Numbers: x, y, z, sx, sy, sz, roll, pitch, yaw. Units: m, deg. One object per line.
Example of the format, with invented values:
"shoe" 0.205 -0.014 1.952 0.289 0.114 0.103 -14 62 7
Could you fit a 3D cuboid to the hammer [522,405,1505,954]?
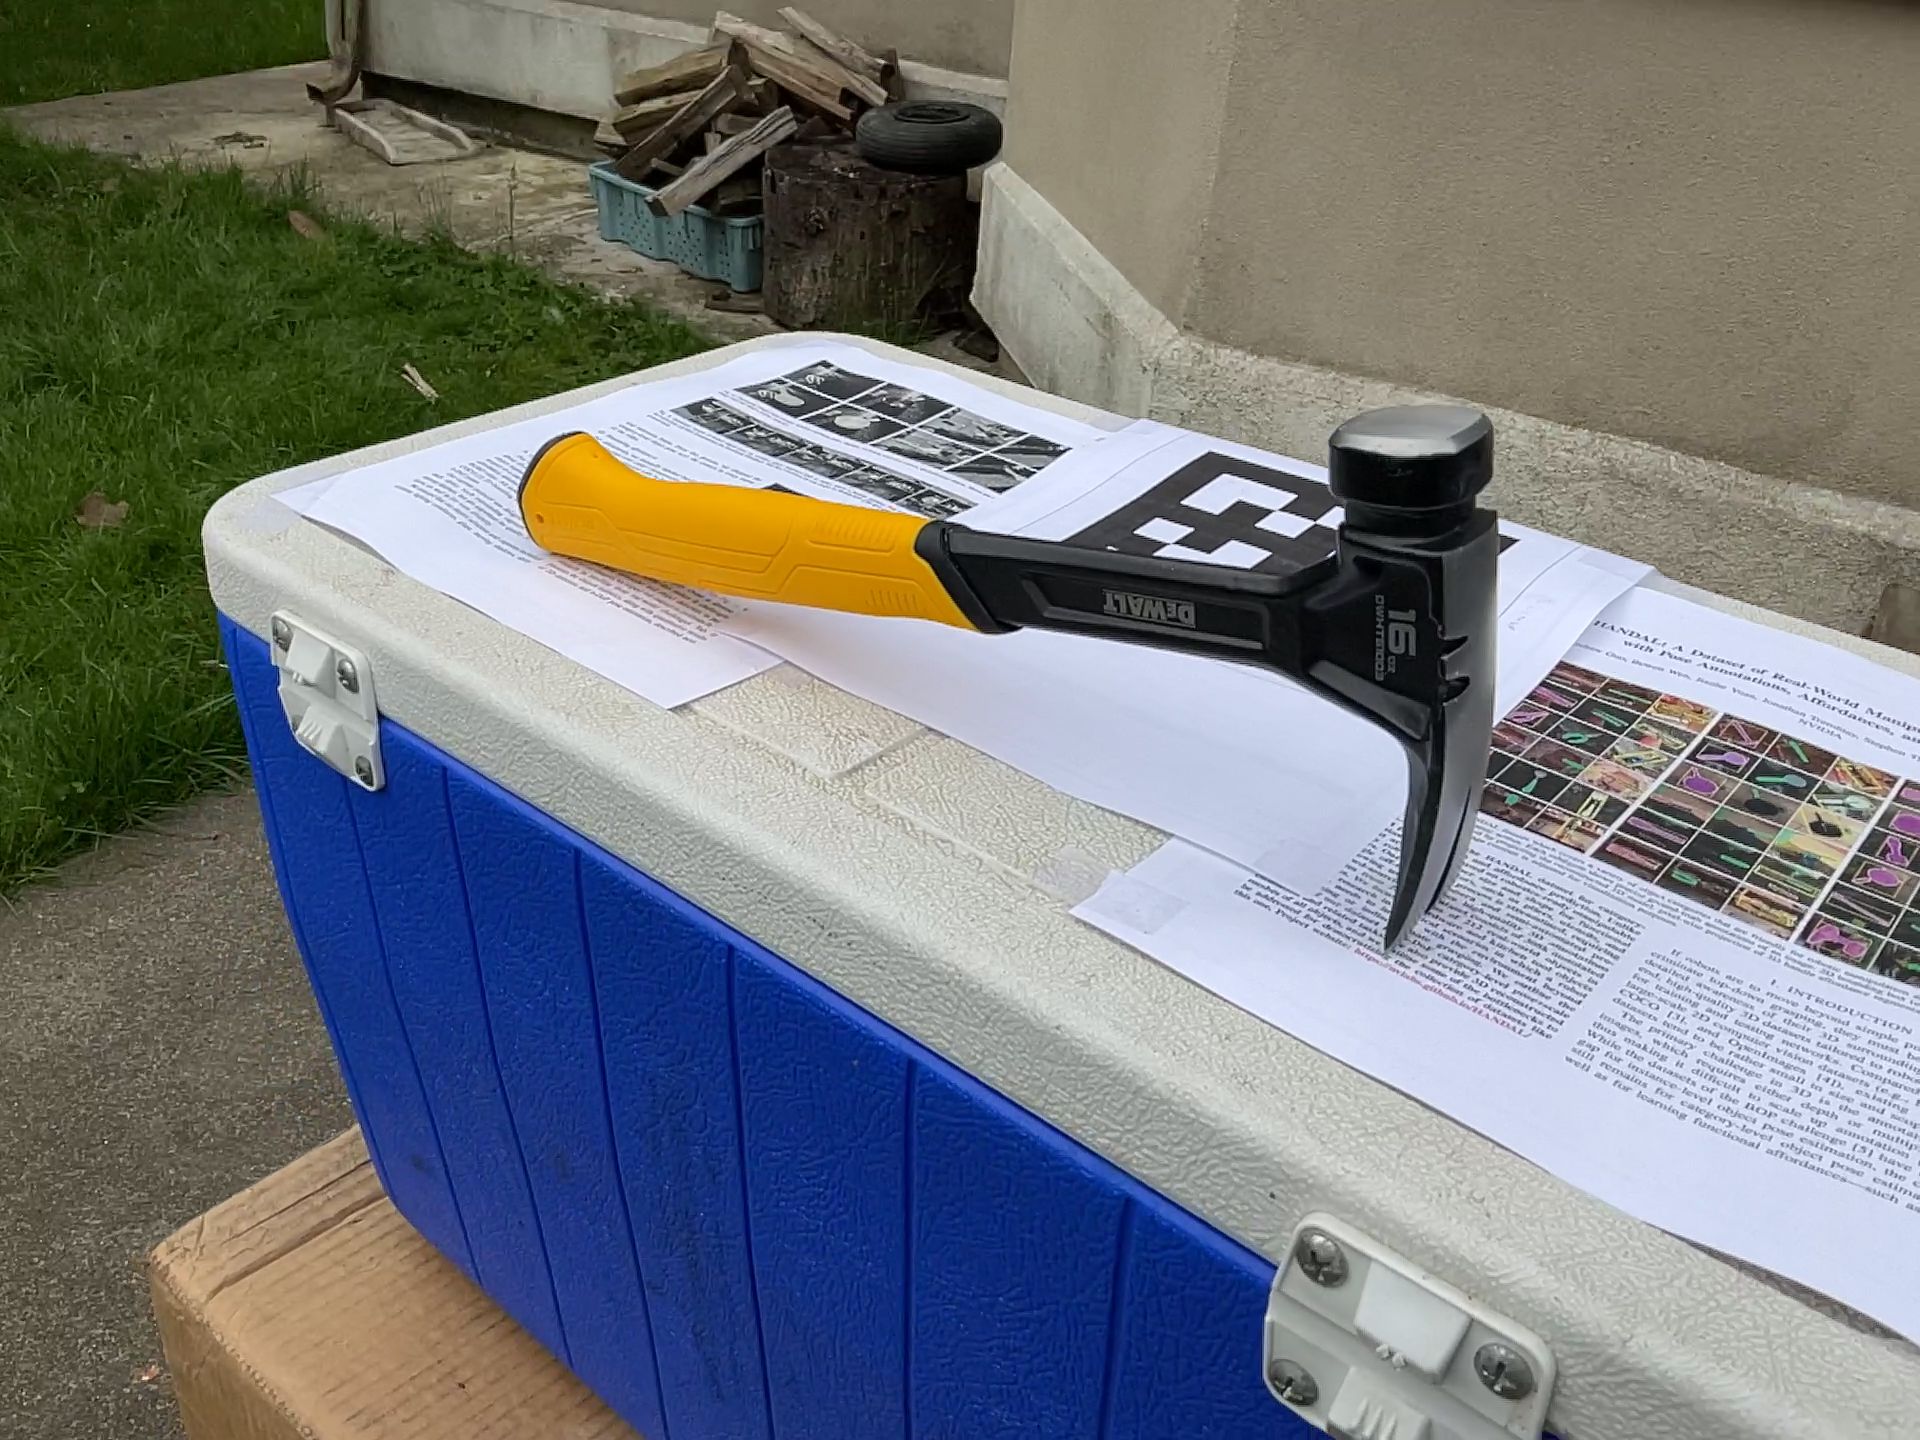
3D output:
"hammer" -0.012 -0.037 0.459 0.337 0.127 0.034 14 32 38
